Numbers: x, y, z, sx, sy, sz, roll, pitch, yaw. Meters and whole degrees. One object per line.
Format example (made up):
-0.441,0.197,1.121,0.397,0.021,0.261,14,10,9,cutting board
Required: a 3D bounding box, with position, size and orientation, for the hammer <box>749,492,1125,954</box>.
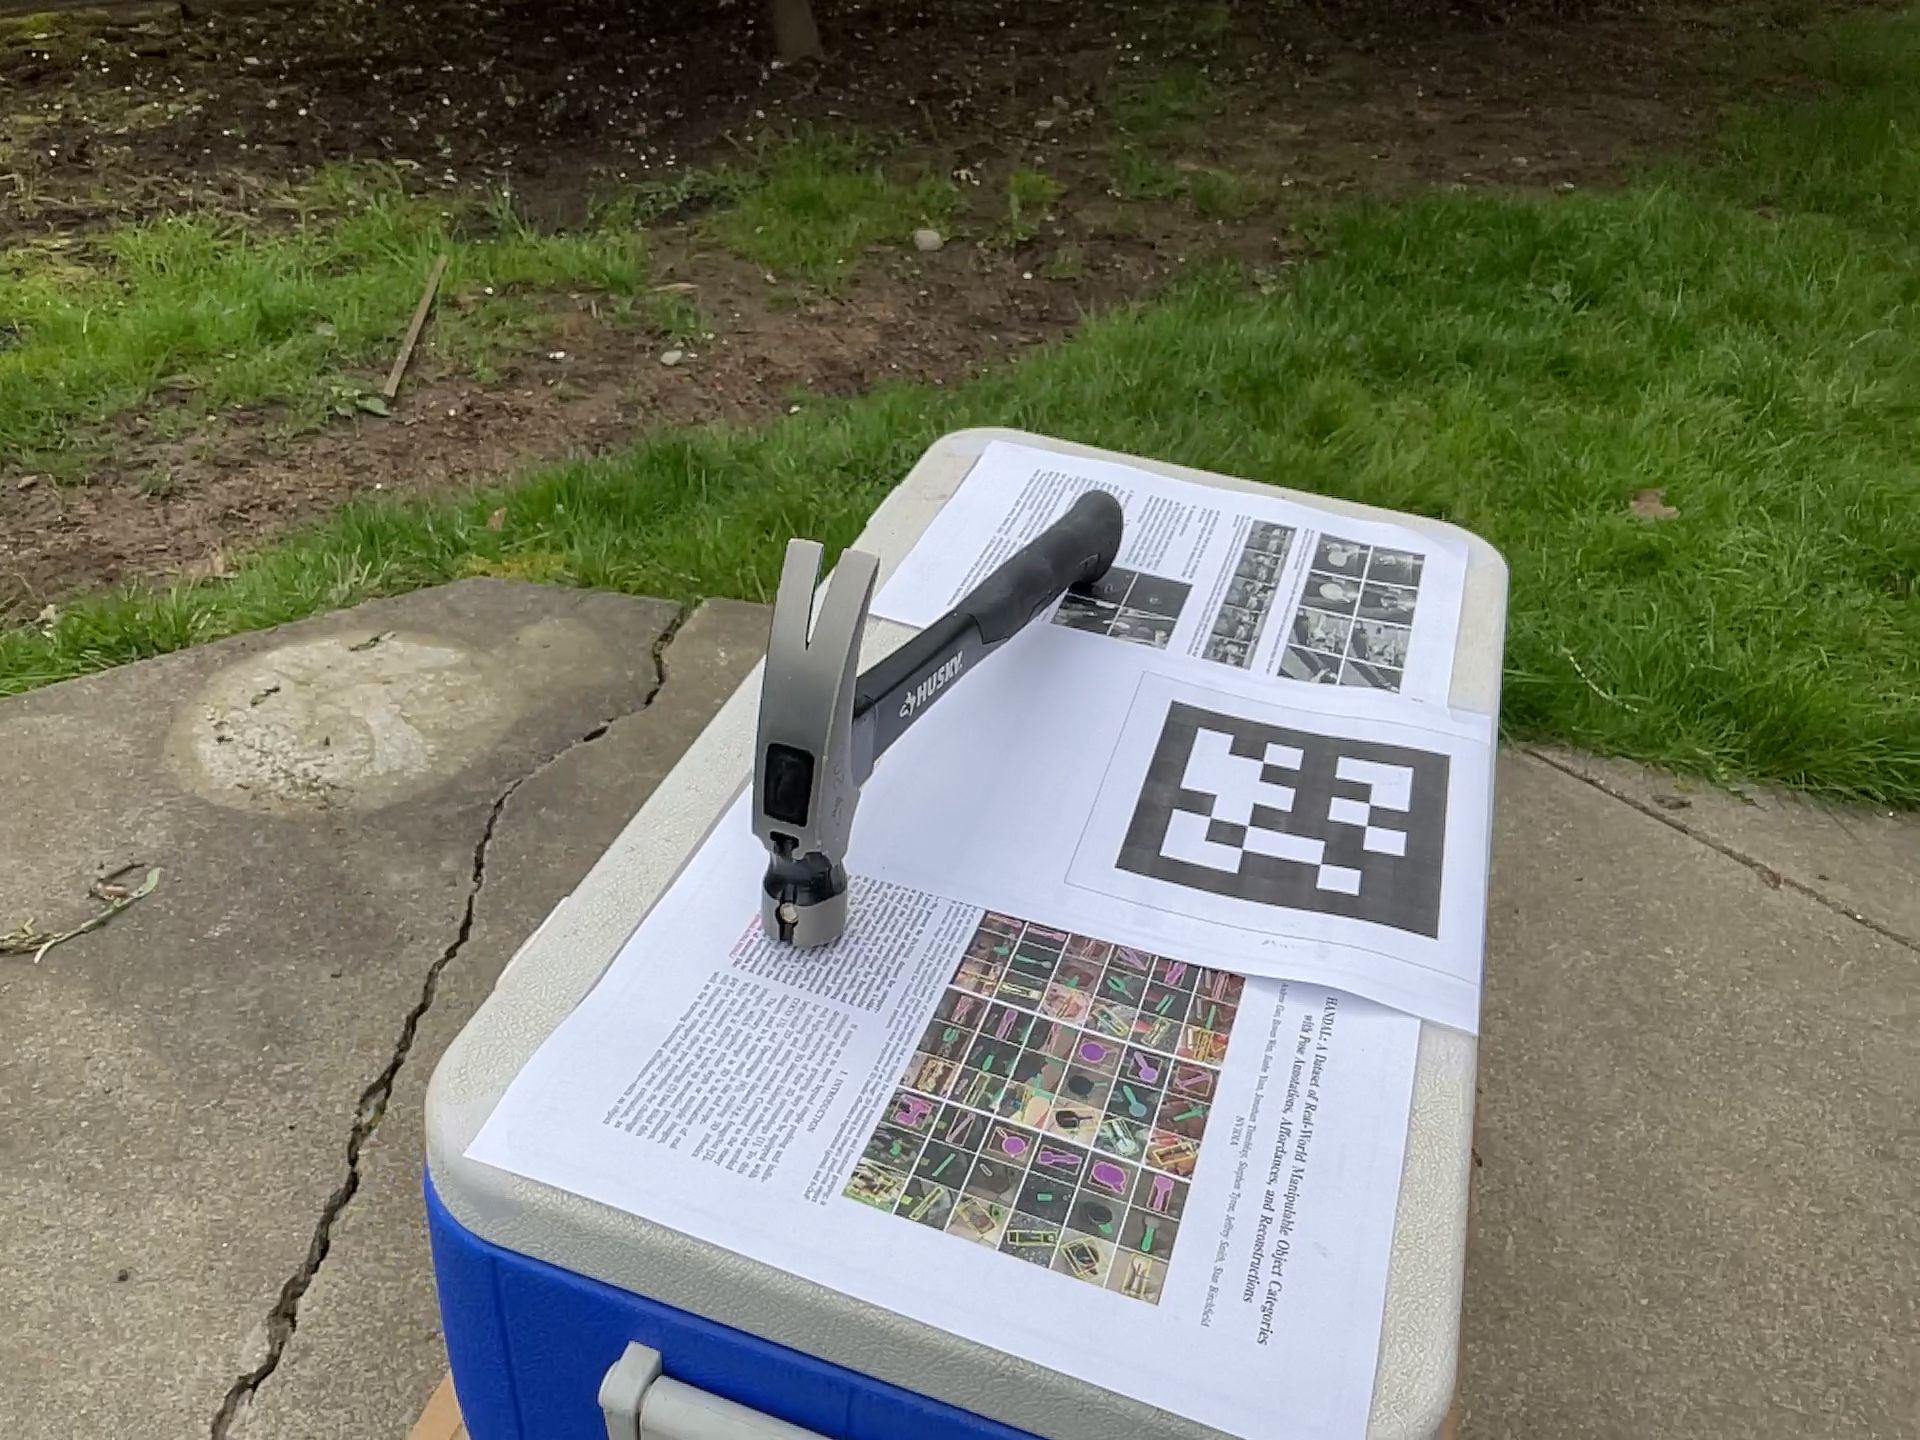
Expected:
0.006,-0.043,0.685,0.035,0.146,0.335,14,27,20,hammer
